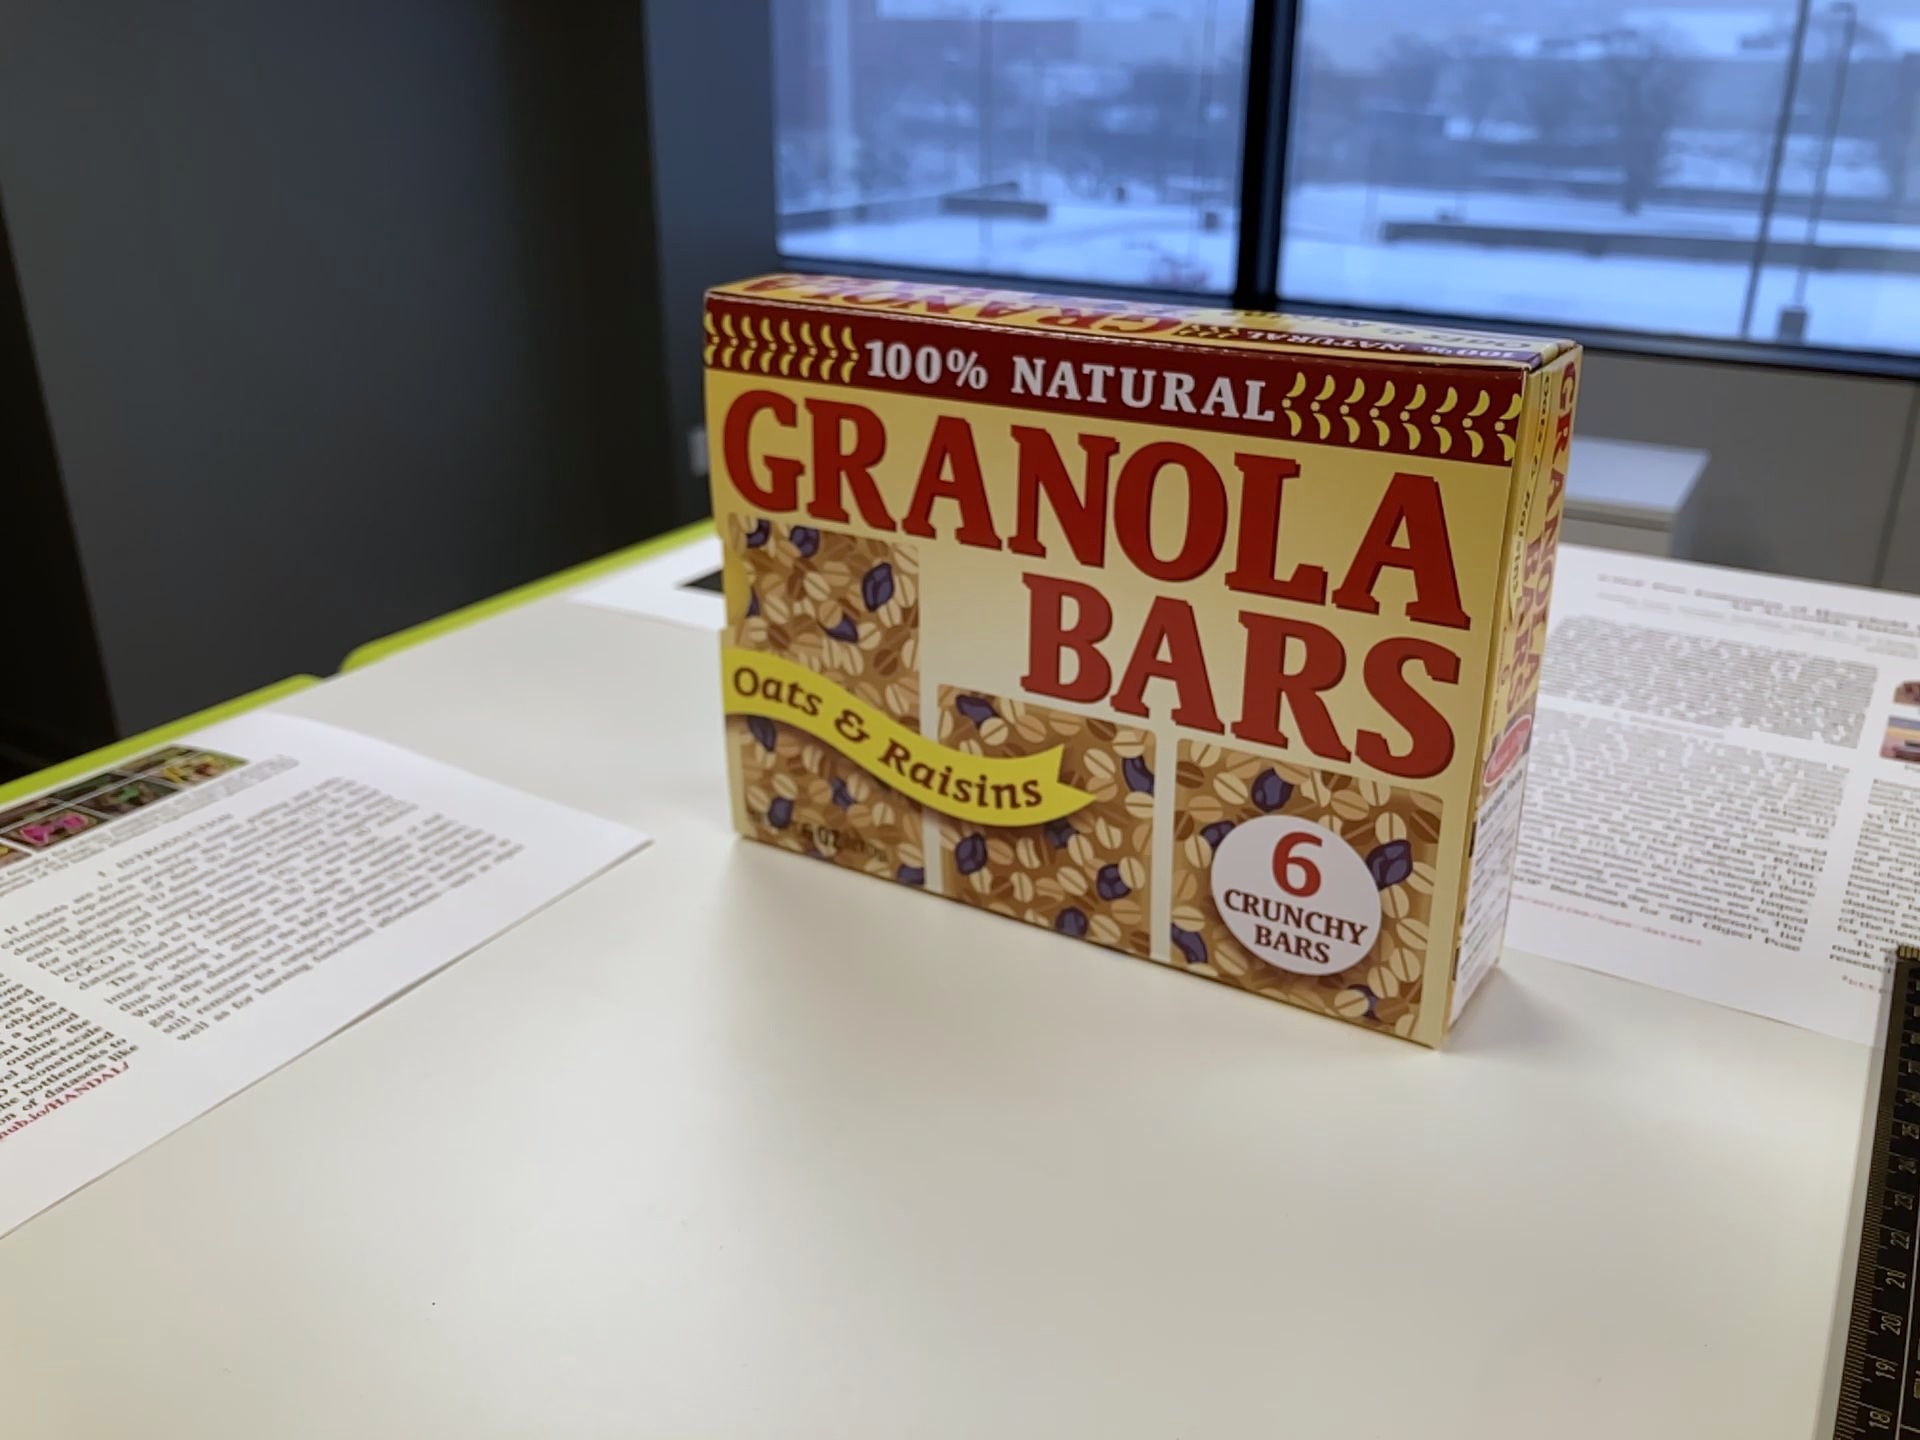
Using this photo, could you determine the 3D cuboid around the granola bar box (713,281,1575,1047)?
[{"bbox_3d":[0.026,-0.019,0.322,0.165,0.124,0.039,13,24,29],"label":"granola bar box"}]
